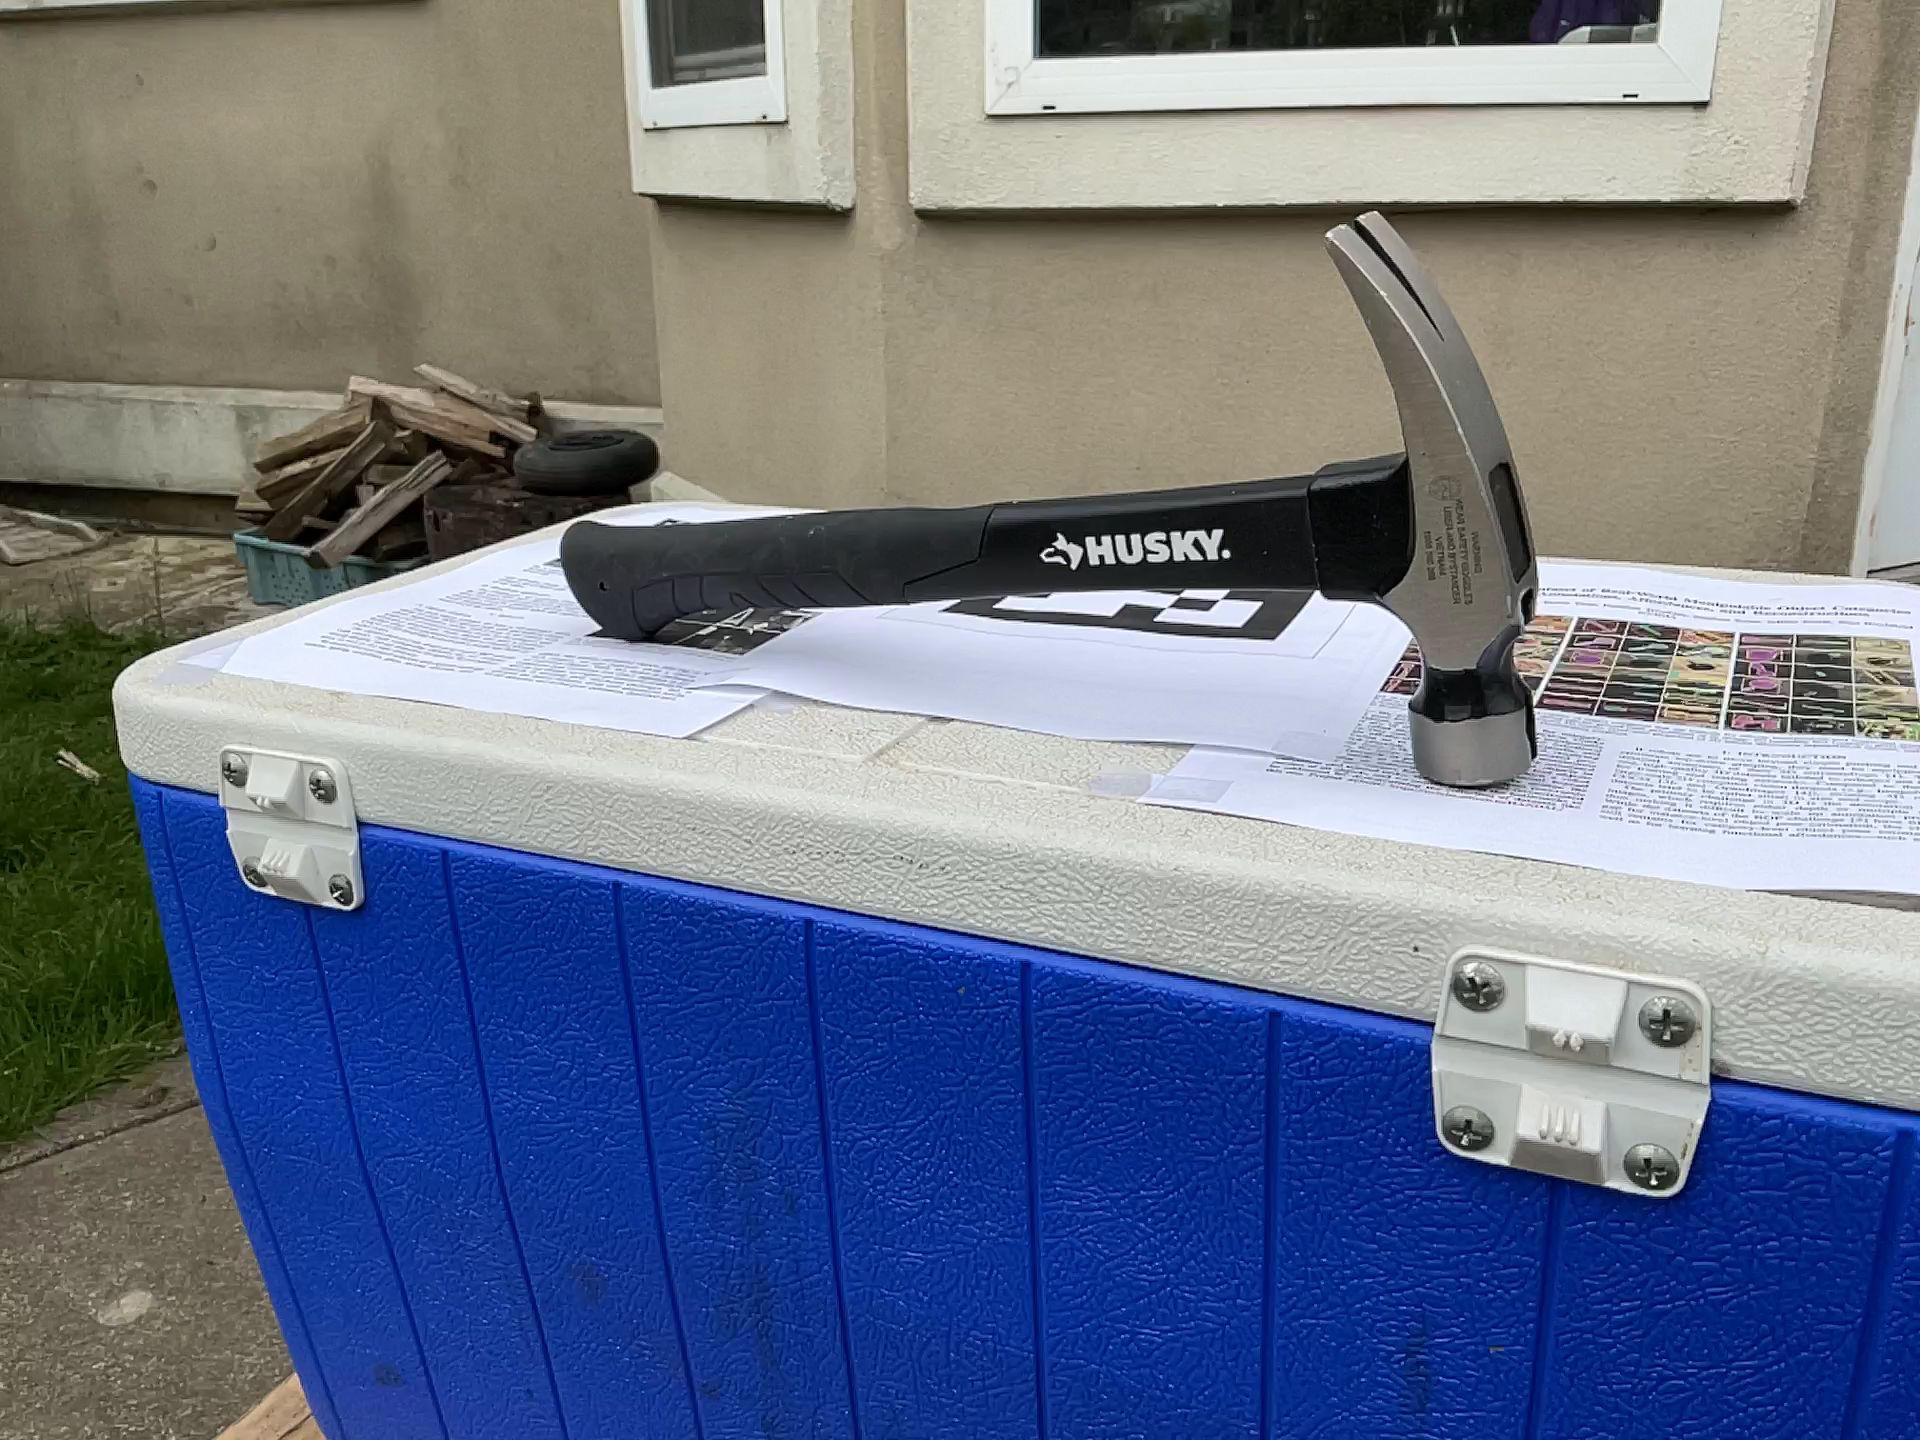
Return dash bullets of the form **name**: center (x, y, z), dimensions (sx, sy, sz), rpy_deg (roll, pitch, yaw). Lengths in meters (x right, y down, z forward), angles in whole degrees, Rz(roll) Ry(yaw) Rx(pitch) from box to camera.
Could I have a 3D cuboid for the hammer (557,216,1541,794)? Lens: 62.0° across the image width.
- **hammer**: center (0.000, -0.055, 0.489), dimensions (0.335, 0.146, 0.035), rpy_deg (1, 23, 34)
